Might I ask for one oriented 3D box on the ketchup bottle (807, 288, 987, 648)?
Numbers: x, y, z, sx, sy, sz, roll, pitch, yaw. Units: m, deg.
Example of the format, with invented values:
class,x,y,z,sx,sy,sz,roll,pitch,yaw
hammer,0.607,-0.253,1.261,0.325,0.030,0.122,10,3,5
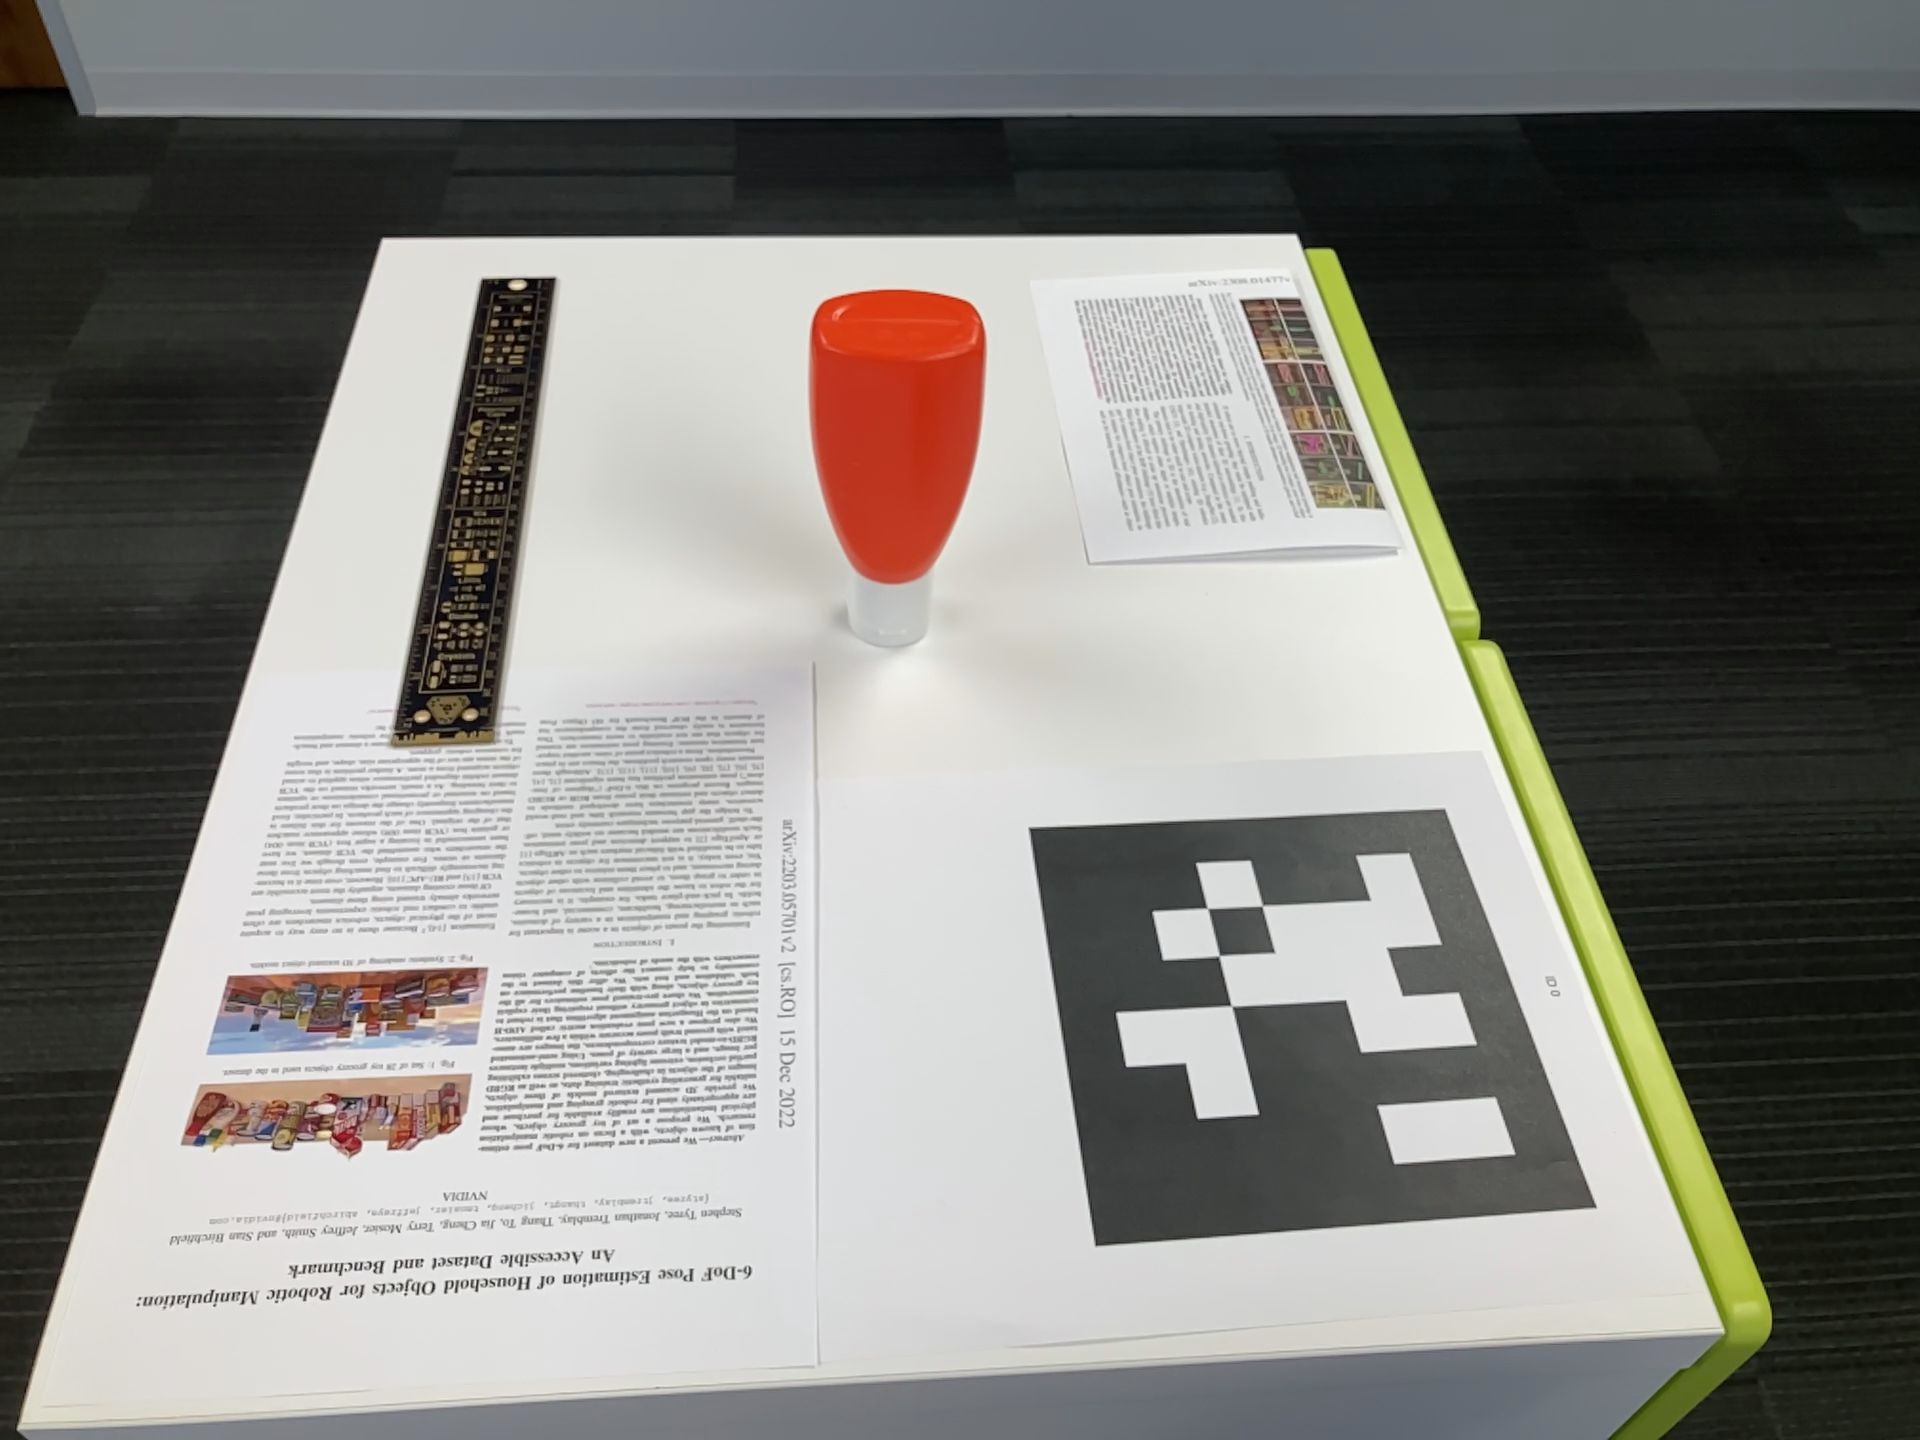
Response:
class,x,y,z,sx,sy,sz,roll,pitch,yaw
ketchup bottle,-0.026,-0.091,0.610,0.065,0.149,0.043,-1,48,-5
